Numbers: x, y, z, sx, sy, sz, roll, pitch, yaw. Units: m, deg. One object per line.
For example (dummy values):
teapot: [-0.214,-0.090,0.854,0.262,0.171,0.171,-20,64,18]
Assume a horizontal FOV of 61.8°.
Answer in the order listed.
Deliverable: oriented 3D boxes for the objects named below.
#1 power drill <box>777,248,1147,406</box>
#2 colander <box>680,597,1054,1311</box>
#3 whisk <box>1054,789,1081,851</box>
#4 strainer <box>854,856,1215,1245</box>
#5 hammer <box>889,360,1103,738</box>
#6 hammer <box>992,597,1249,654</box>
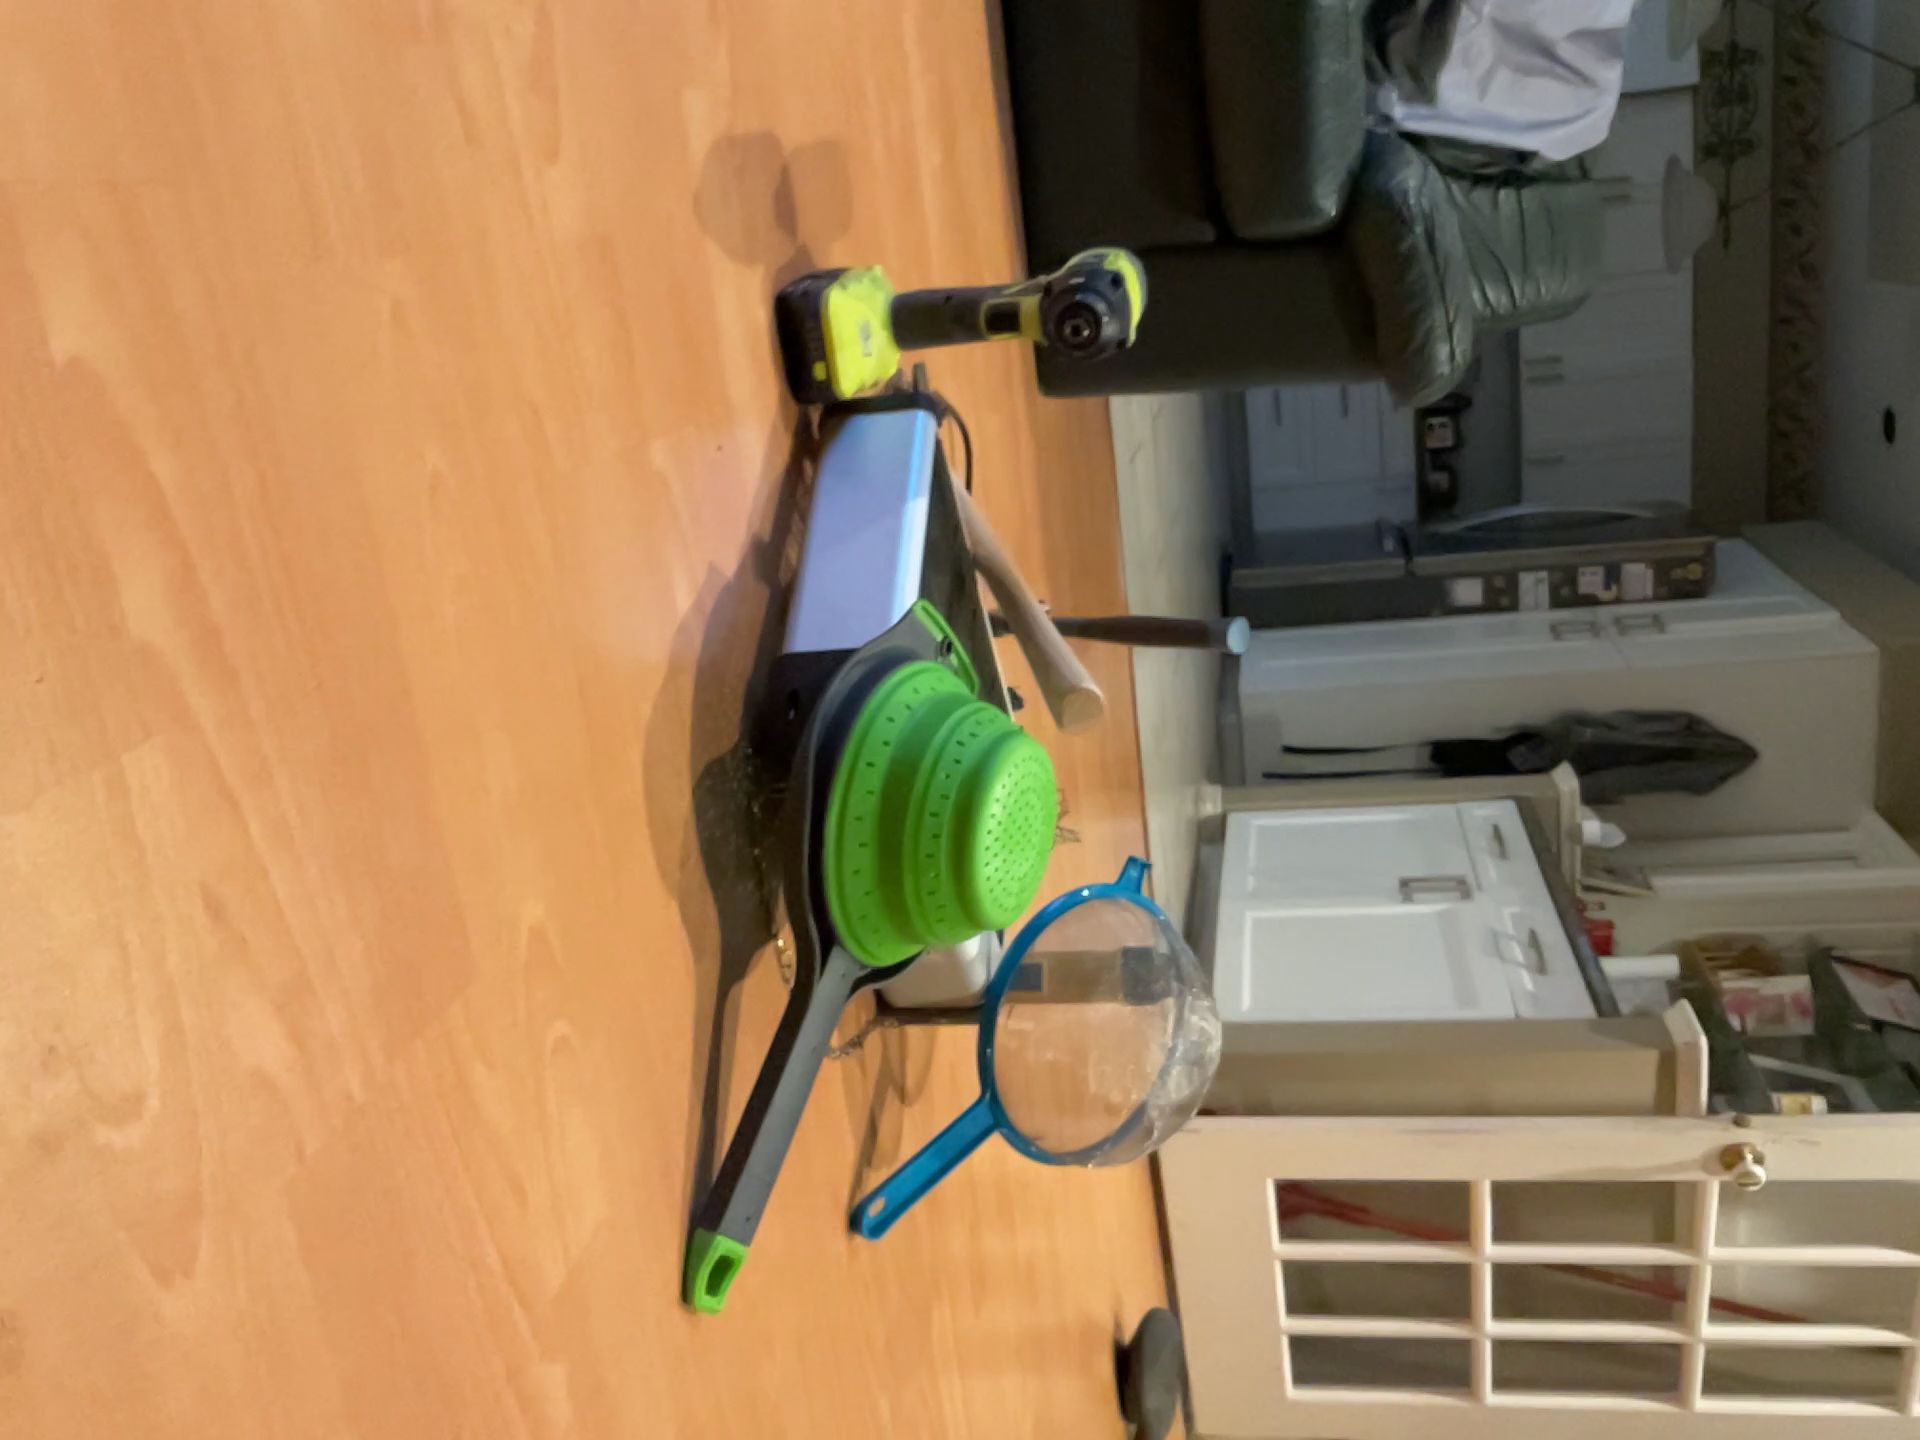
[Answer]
power drill: [0.004,-0.259,1.042,0.171,0.223,0.080,-64,148,-65]
colander: [-0.036,0.126,0.860,0.397,0.094,0.204,-69,151,-23]
whisk: [0.045,0.076,1.187,0.057,0.059,0.246,-64,164,4]
strainer: [0.074,0.261,1.125,0.341,0.095,0.210,-35,116,-33]
hammer: [0.019,-0.123,1.155,0.411,0.038,0.146,-117,-167,-54]
hammer: [0.126,-0.083,1.422,0.128,0.331,0.033,-13,103,-37]
